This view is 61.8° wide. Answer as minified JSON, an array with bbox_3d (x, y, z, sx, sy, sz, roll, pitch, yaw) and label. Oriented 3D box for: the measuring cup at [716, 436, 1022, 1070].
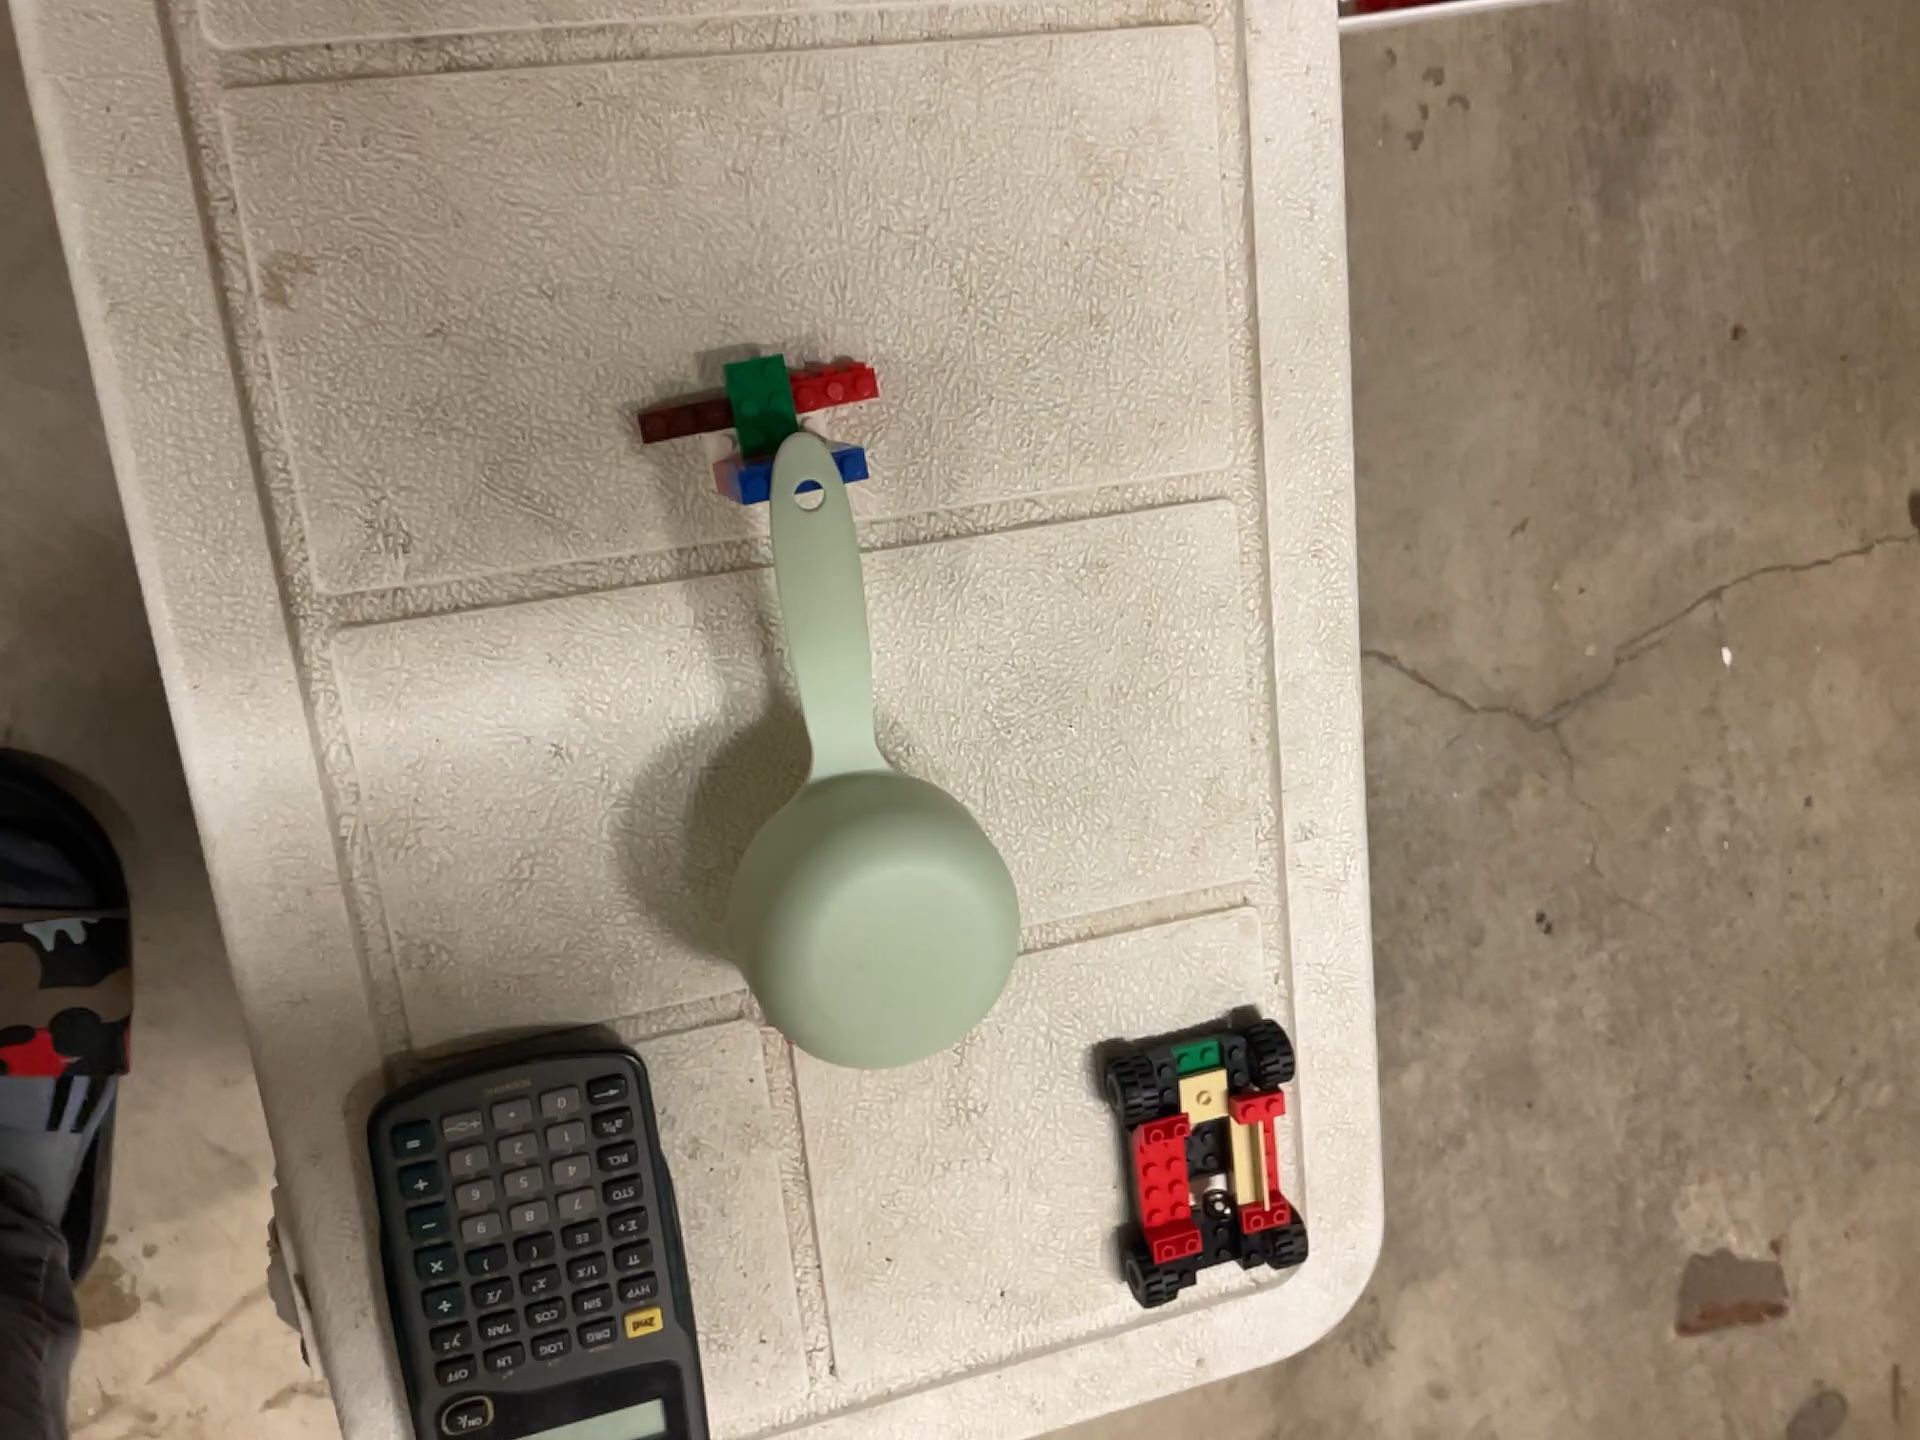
[{"bbox_3d":[-0.025,0.013,0.406,0.083,0.038,0.167,-12,112,-15],"label":"measuring cup"}]
